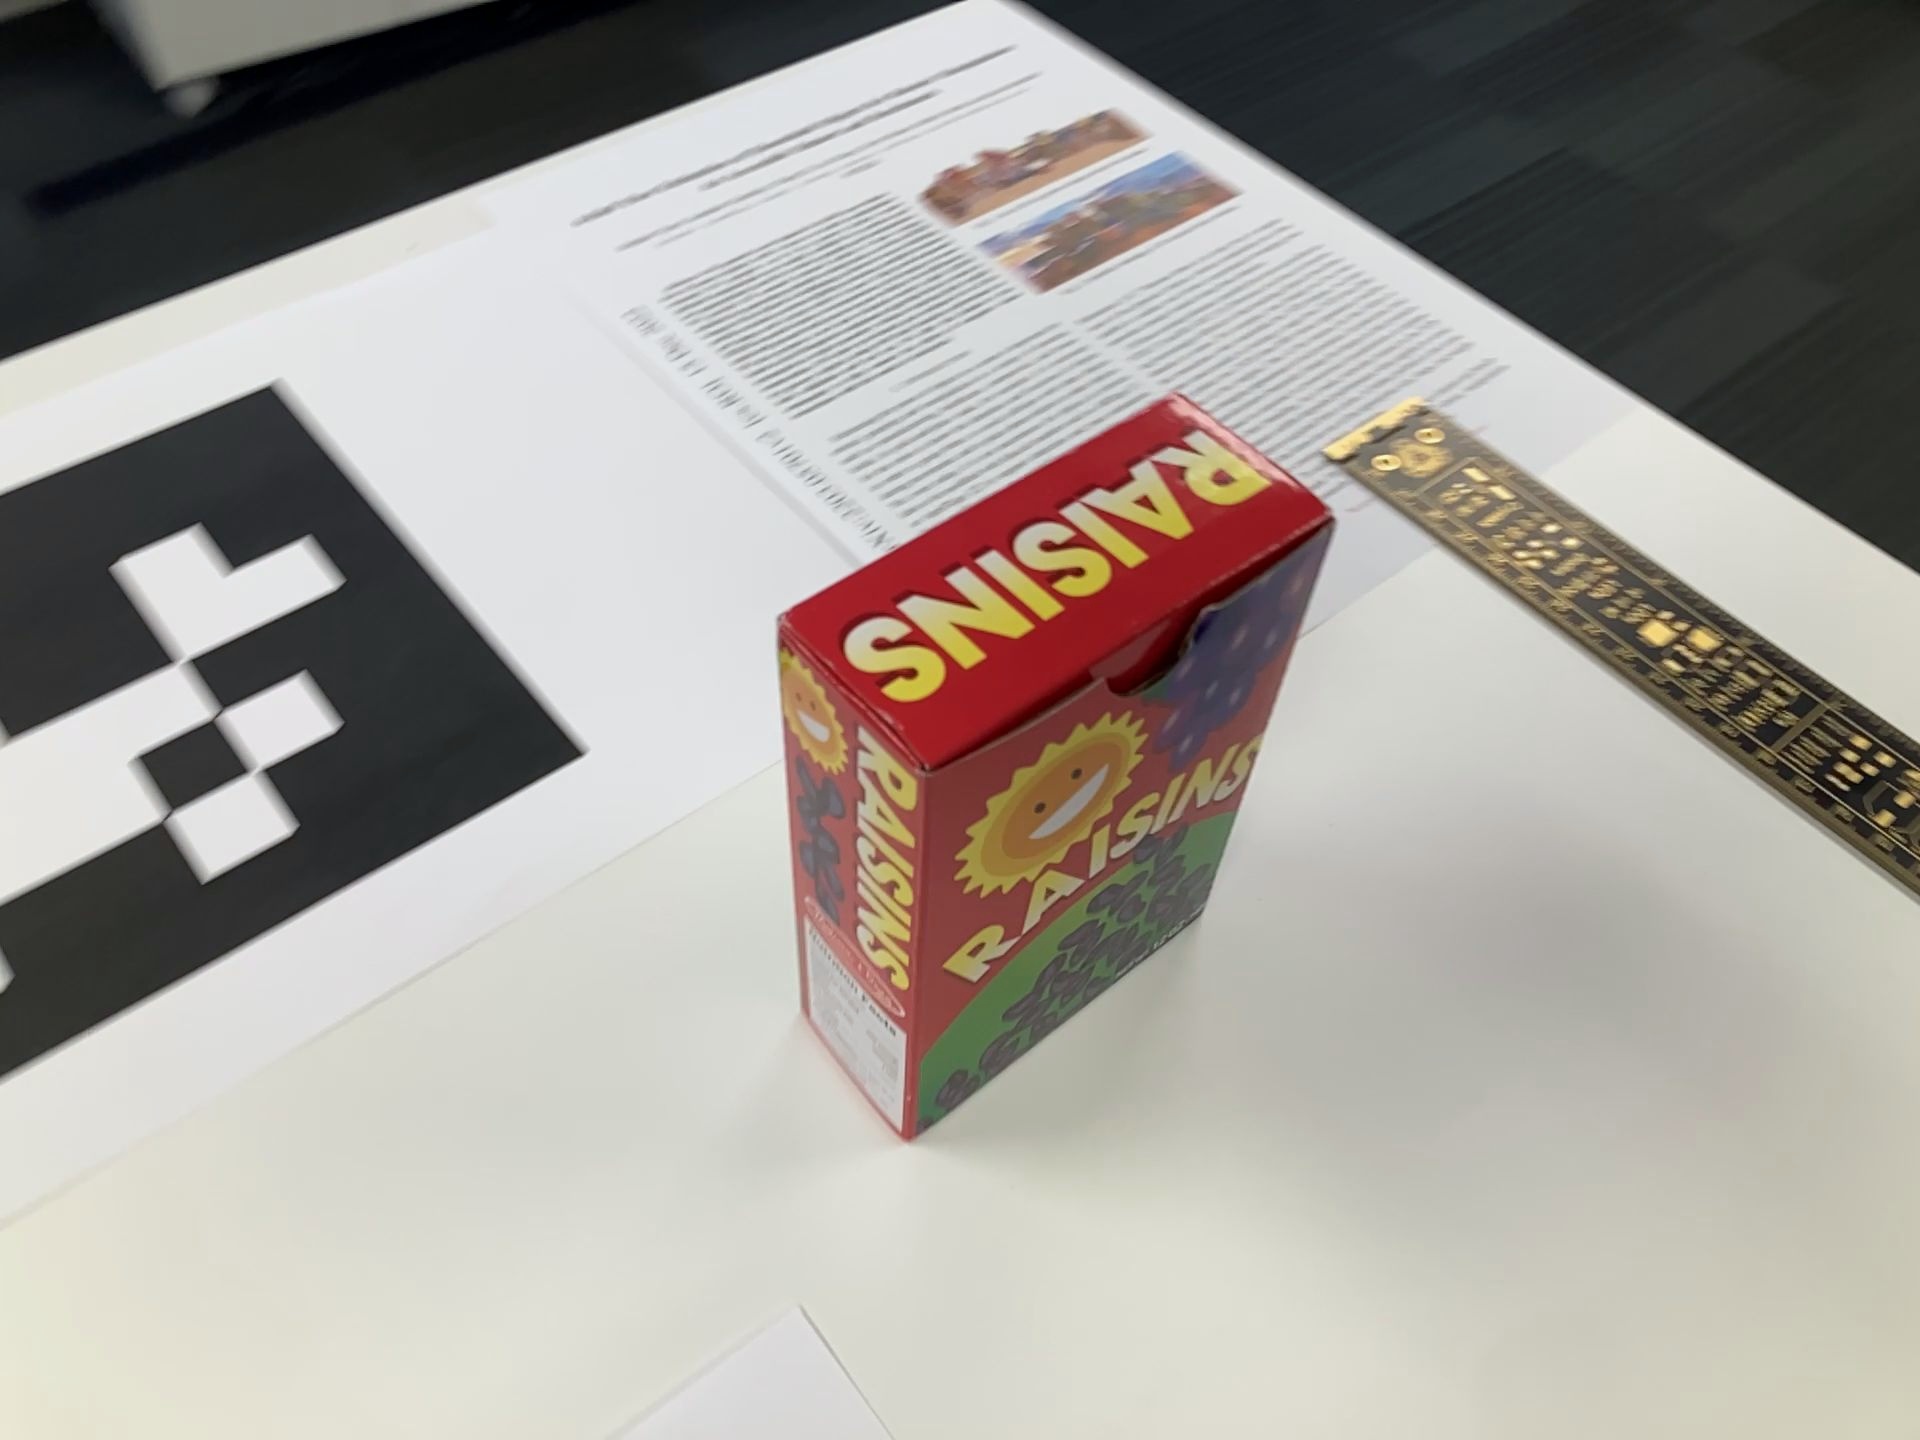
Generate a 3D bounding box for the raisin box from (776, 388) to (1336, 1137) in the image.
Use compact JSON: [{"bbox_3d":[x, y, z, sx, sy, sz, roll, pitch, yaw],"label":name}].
[{"bbox_3d":[0.013,0.013,0.285,0.086,0.123,0.040,-31,60,-25],"label":"raisin box"}]
